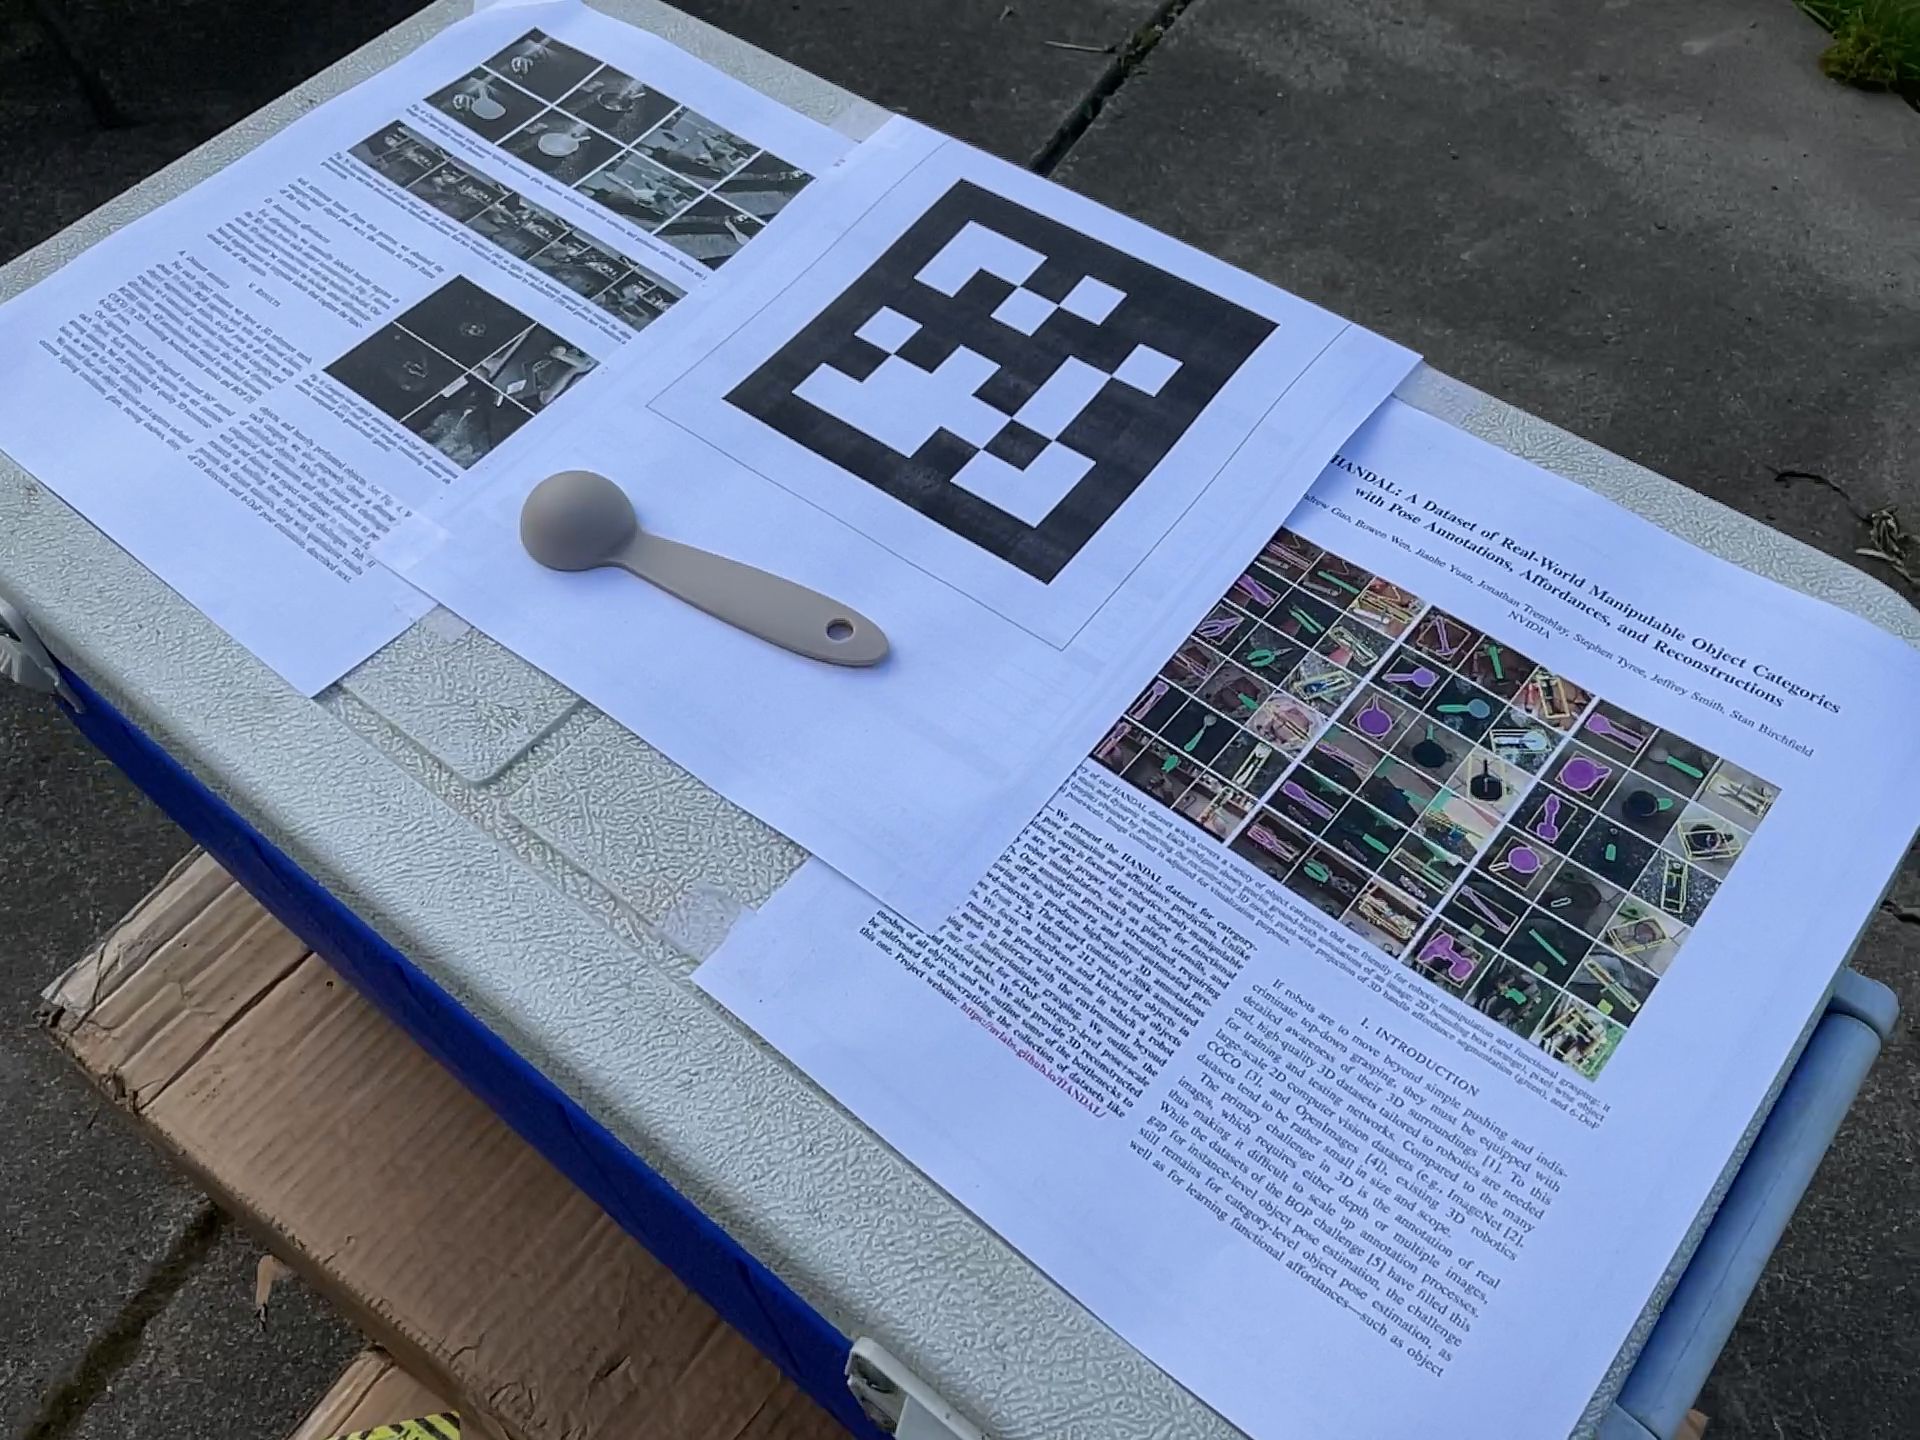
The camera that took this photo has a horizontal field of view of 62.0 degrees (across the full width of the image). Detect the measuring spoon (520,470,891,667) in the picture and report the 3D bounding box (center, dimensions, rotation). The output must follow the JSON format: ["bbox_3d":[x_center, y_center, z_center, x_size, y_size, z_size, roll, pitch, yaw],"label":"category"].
[{"bbox_3d":[-0.074,-0.045,0.458,0.124,0.018,0.034,23,59,17],"label":"measuring spoon"}]
